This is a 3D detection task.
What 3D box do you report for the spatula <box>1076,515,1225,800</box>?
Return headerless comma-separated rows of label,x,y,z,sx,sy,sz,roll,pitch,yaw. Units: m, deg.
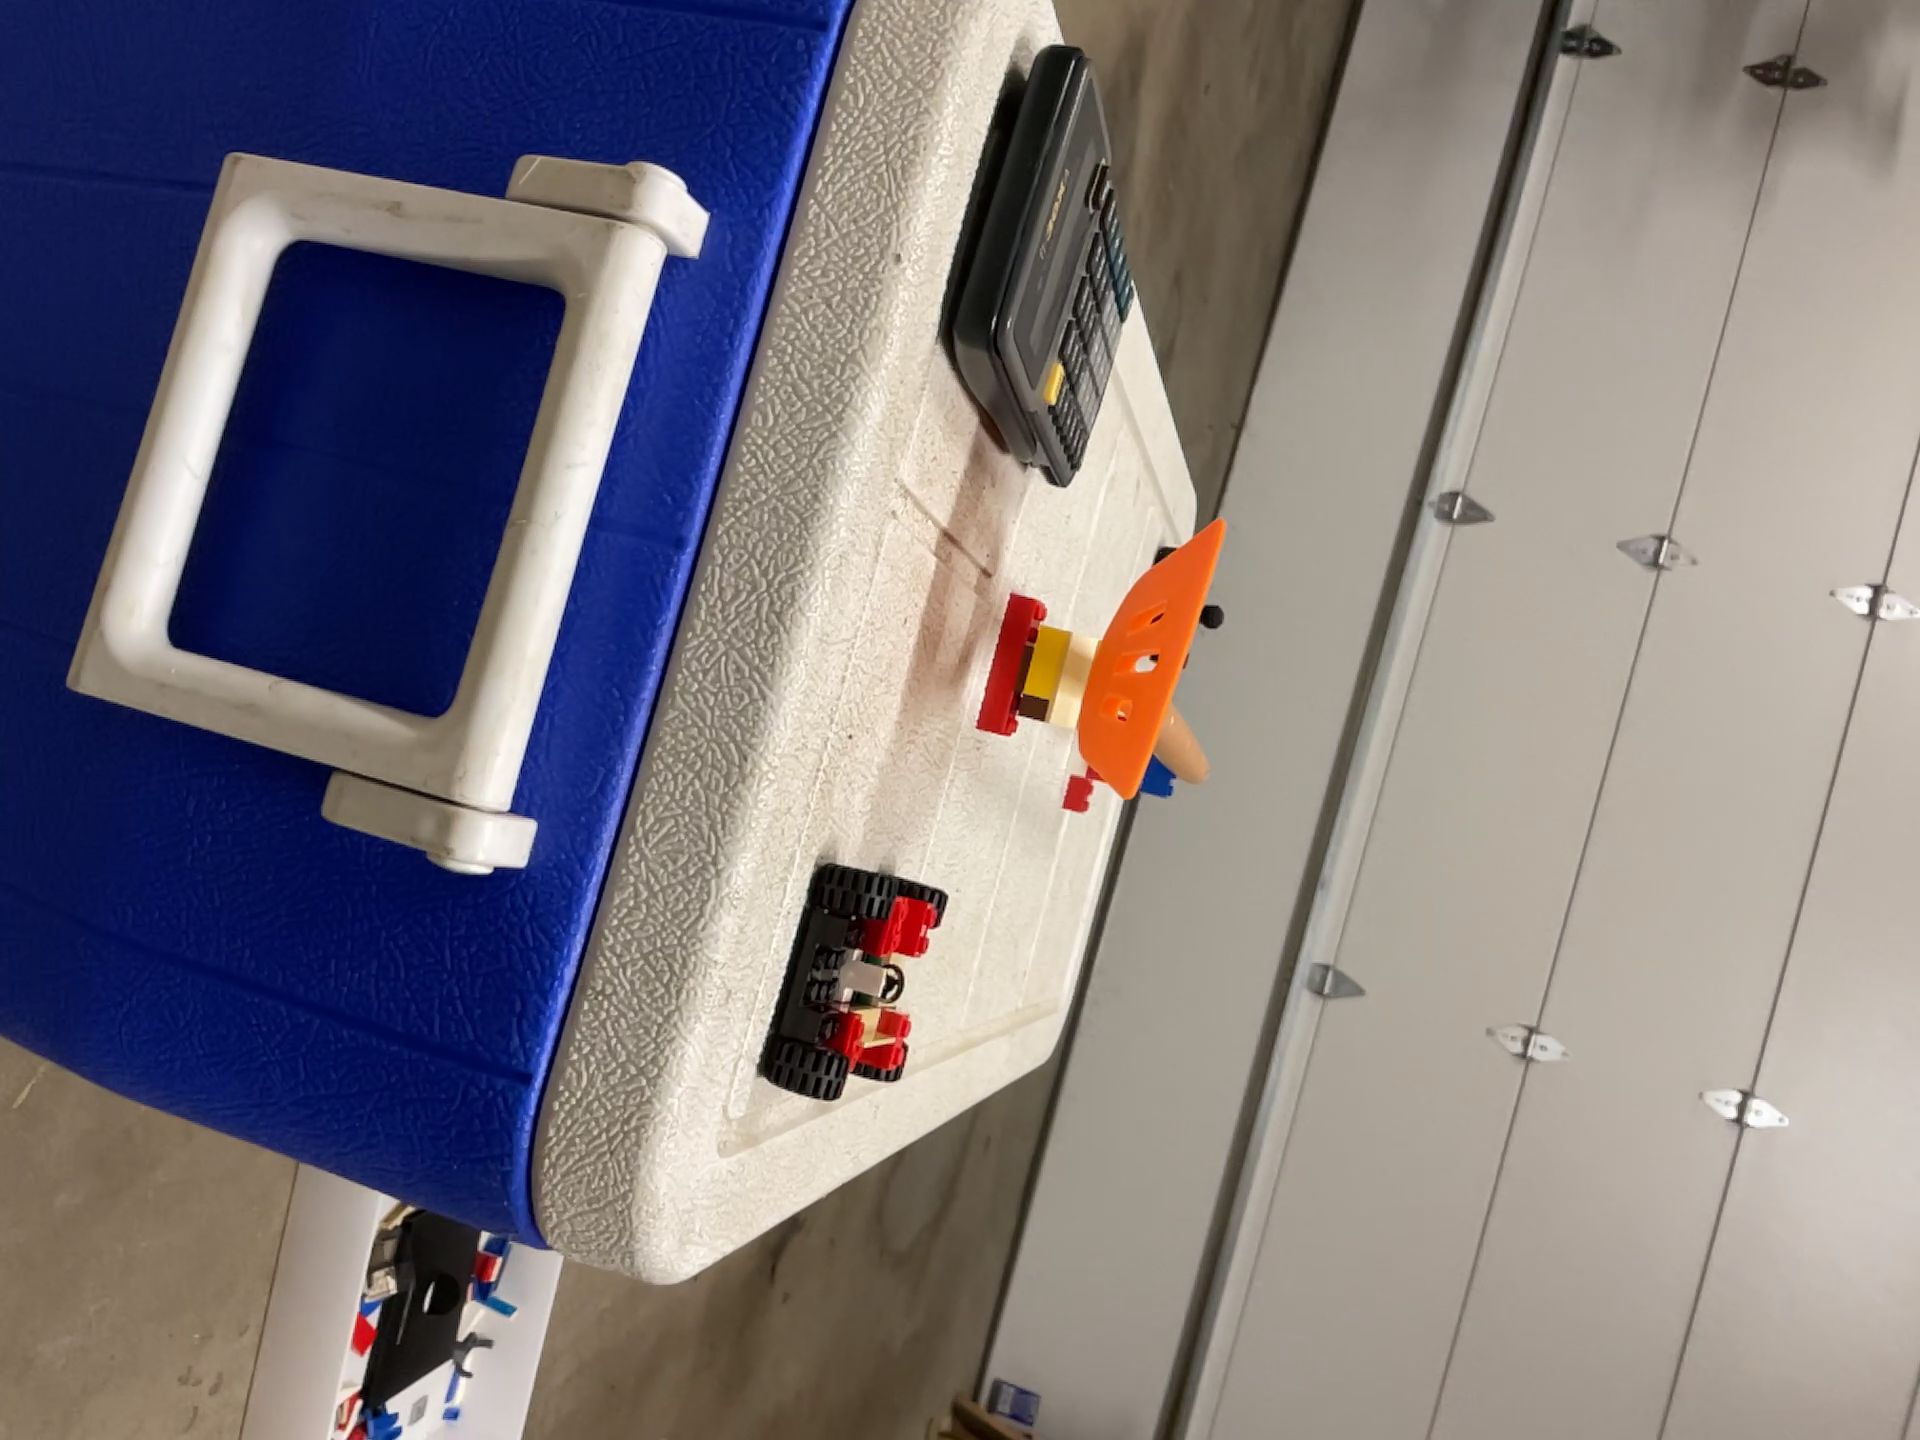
spatula,0.077,0.001,0.576,0.322,0.041,0.081,33,75,-74
